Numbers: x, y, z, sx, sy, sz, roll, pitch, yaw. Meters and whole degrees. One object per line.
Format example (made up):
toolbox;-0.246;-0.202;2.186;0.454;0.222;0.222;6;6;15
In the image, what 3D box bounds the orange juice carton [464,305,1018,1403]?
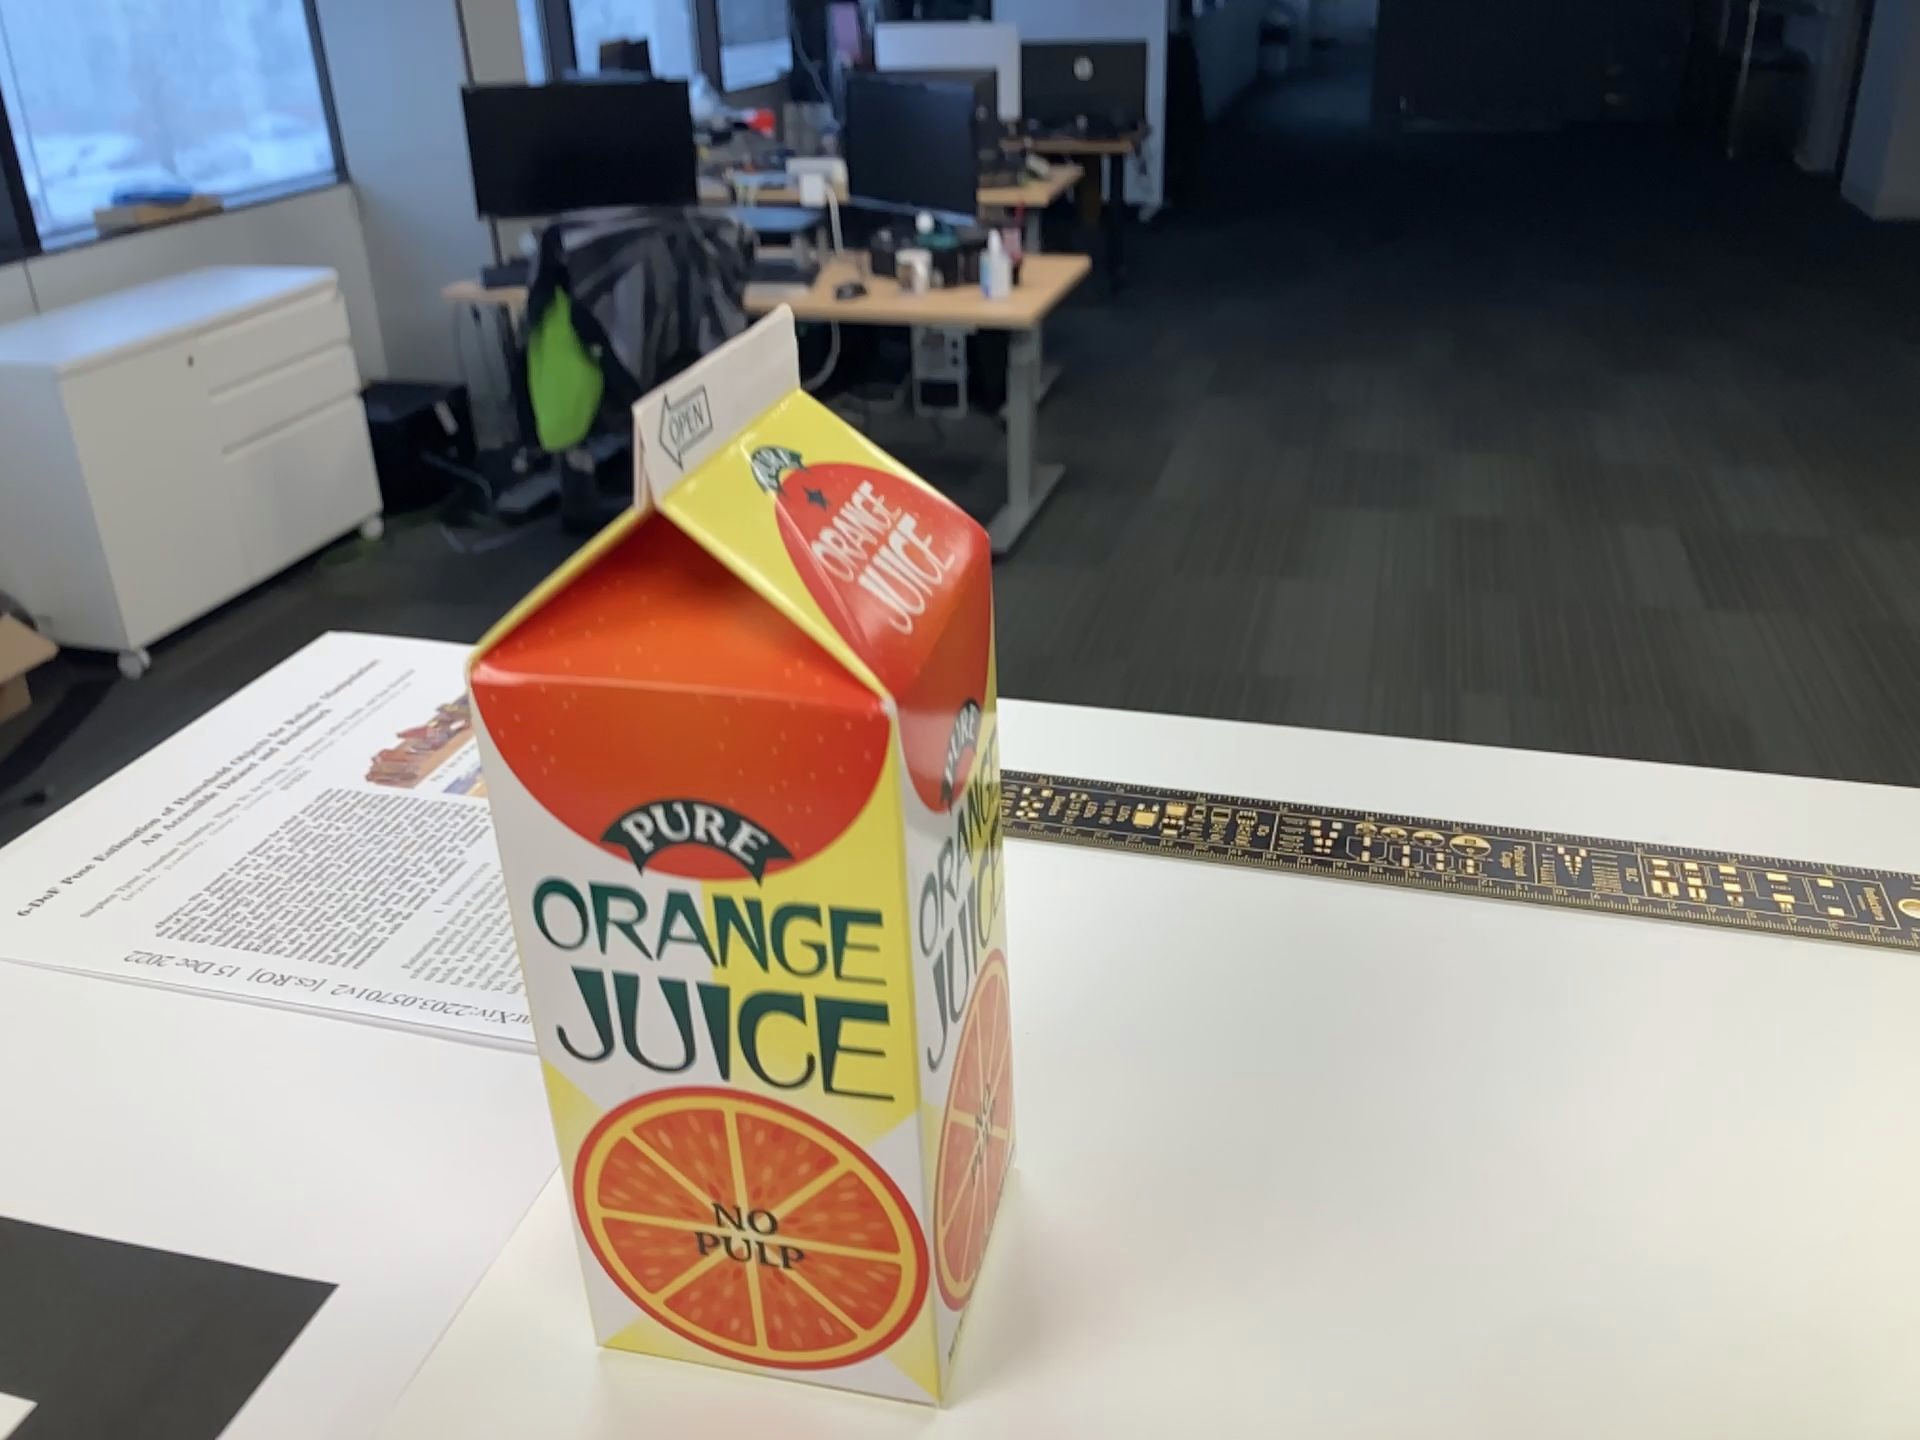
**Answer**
orange juice carton;-0.033;0.027;0.294;0.073;0.192;0.072;4;27;13
